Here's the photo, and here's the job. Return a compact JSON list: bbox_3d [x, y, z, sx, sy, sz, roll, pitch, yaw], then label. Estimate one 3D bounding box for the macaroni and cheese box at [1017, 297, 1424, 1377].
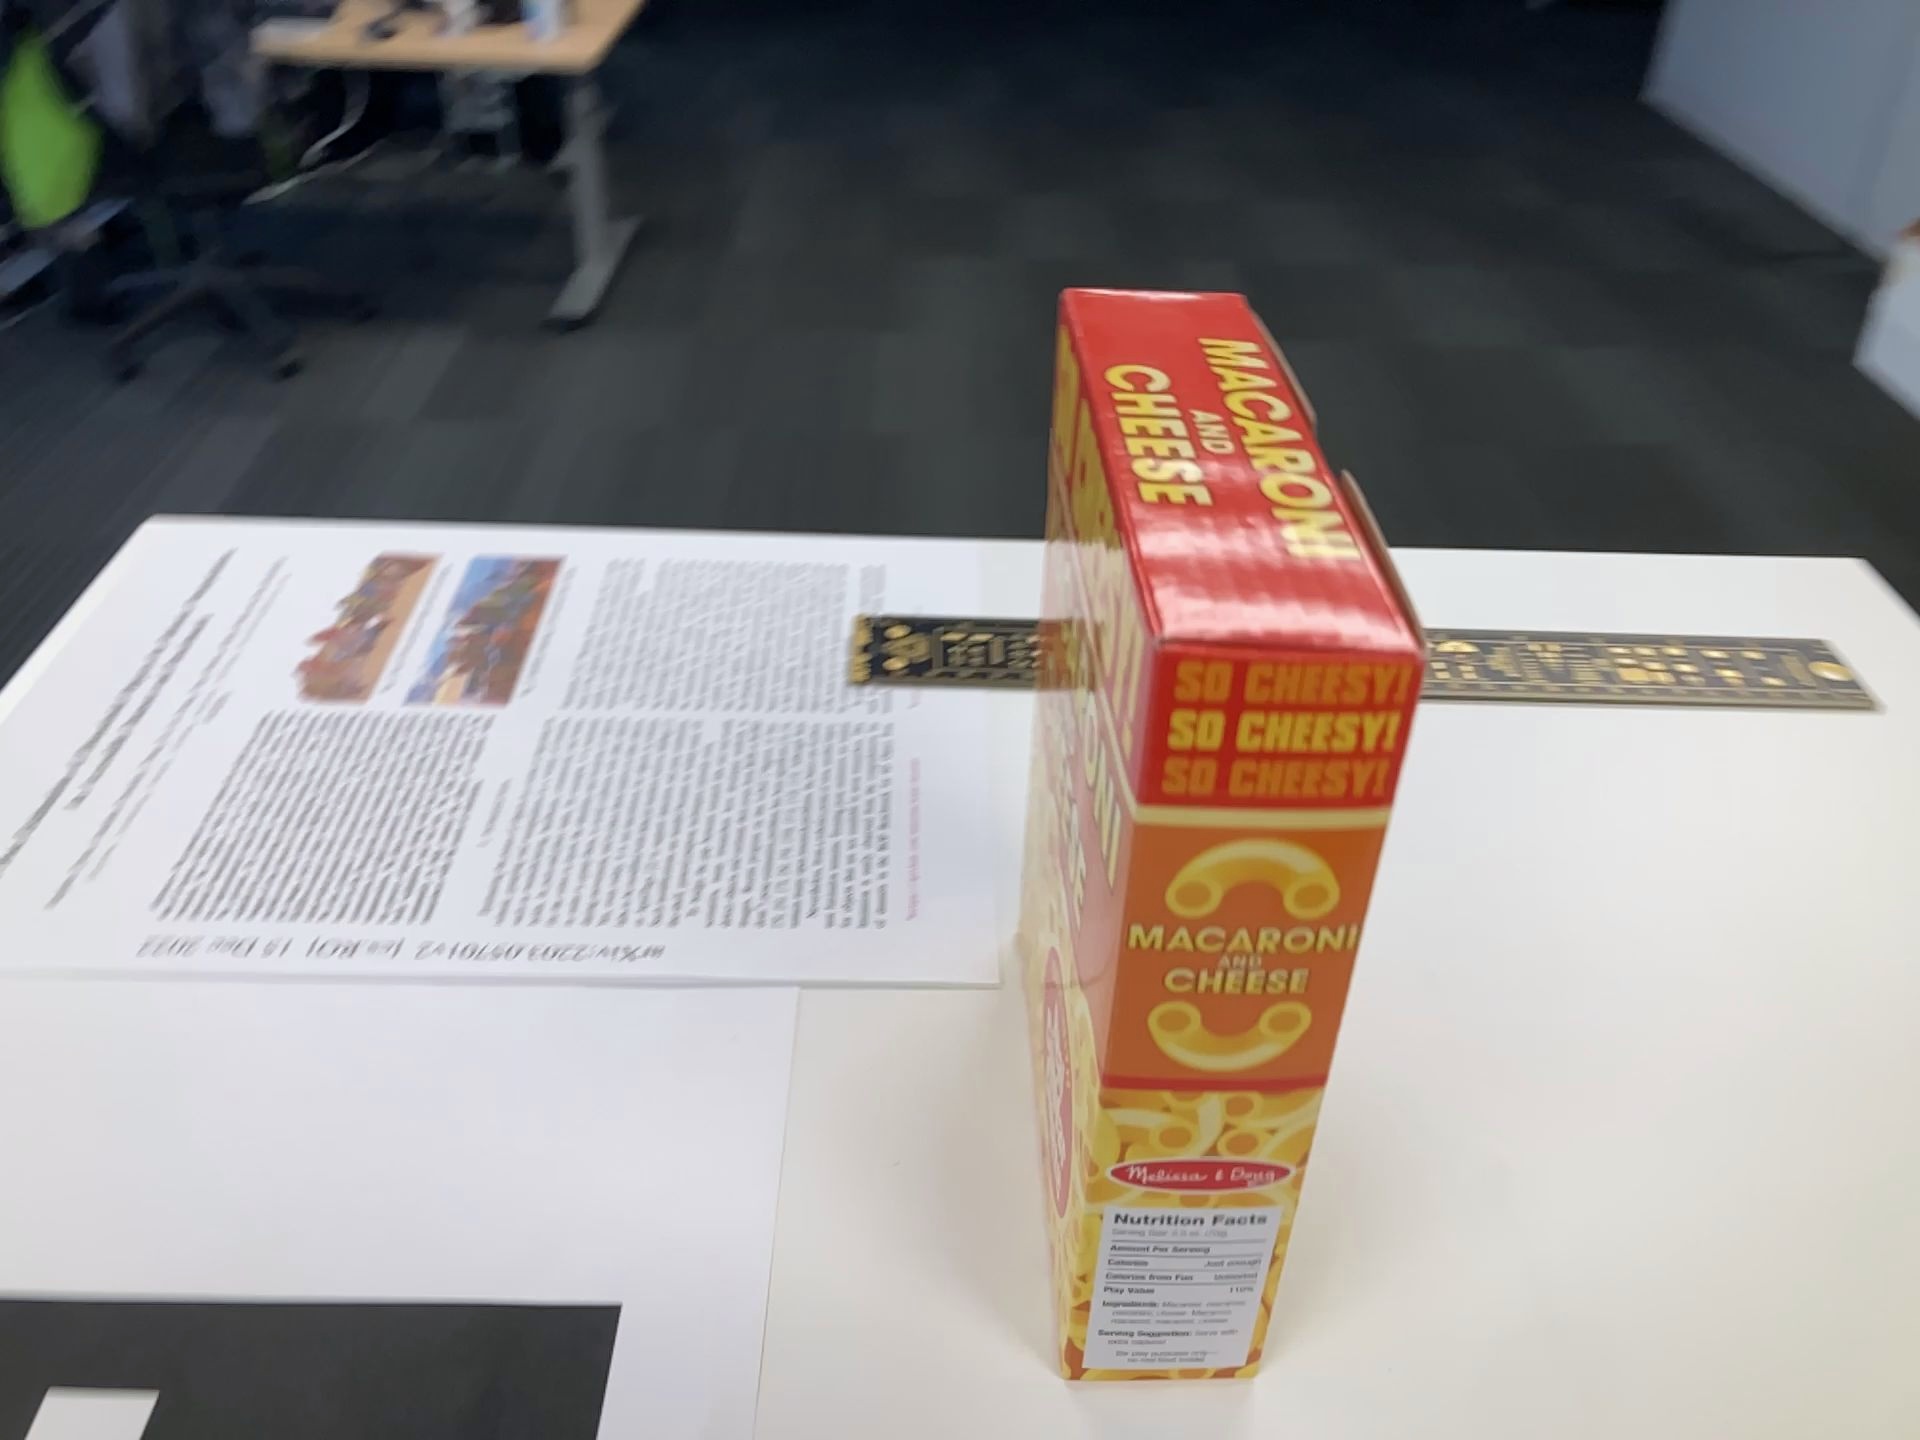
[{"bbox_3d":[0.038,0.021,0.302,0.040,0.166,0.124,0,36,-4],"label":"macaroni and cheese box"}]
